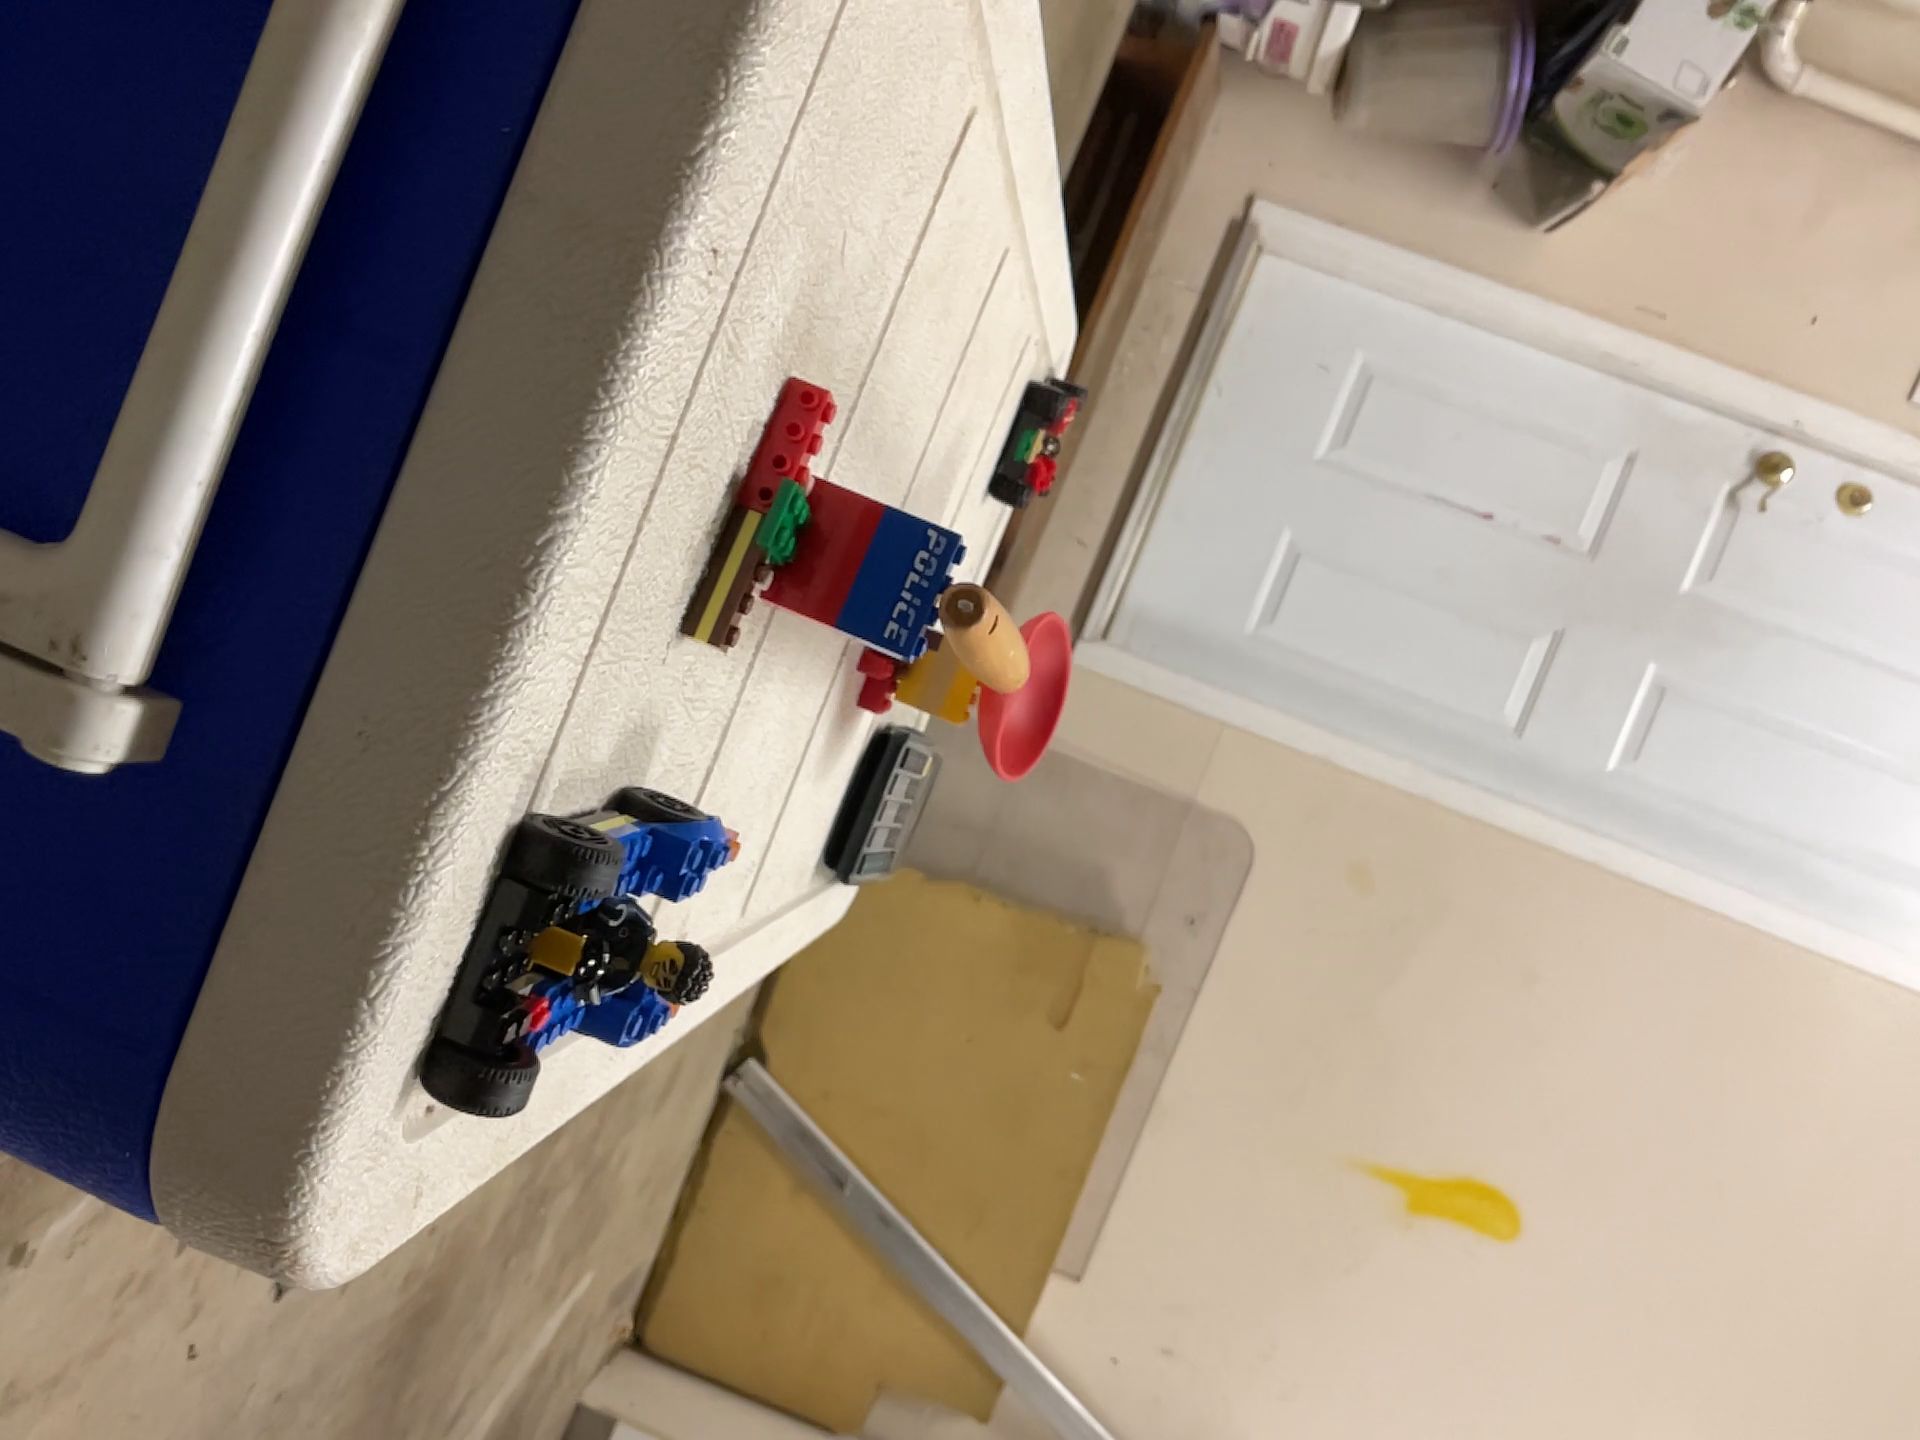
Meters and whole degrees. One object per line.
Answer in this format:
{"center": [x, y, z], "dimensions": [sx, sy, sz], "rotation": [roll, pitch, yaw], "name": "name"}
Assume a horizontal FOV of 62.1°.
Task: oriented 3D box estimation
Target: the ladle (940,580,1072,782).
{"center": [0.014, -0.017, 0.510], "dimensions": [0.315, 0.031, 0.069], "rotation": [33, 74, -84], "name": "ladle"}
